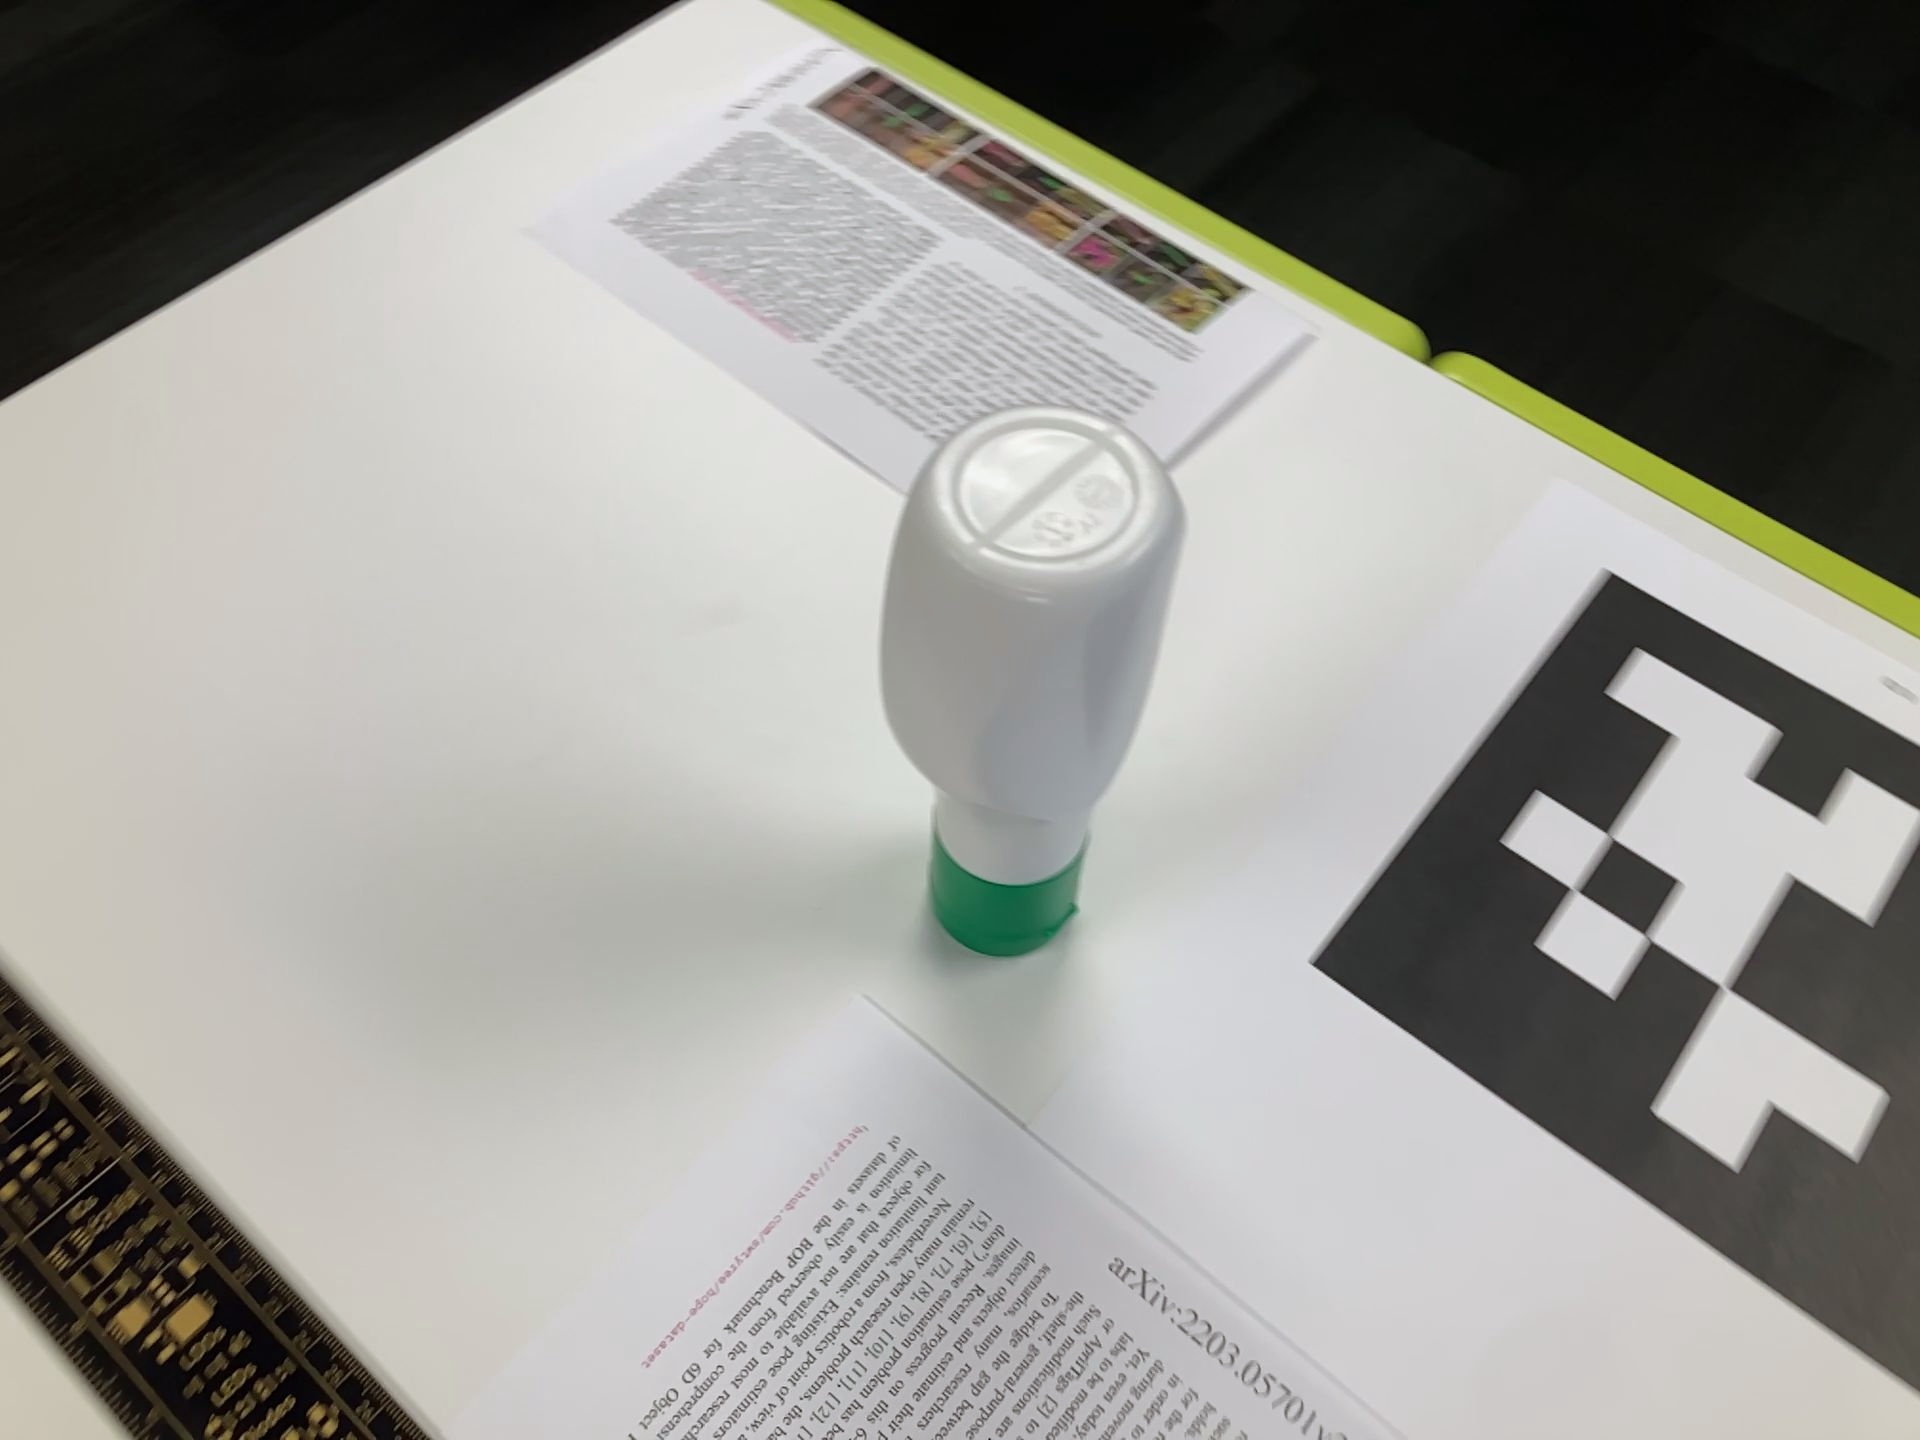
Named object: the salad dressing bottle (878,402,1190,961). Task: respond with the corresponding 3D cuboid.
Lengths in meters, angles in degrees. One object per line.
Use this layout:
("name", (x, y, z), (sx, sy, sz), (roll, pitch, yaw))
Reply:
("salad dressing bottle", (0.013, 0.002, 0.328), (0.044, 0.147, 0.064), (37, 62, 21))
